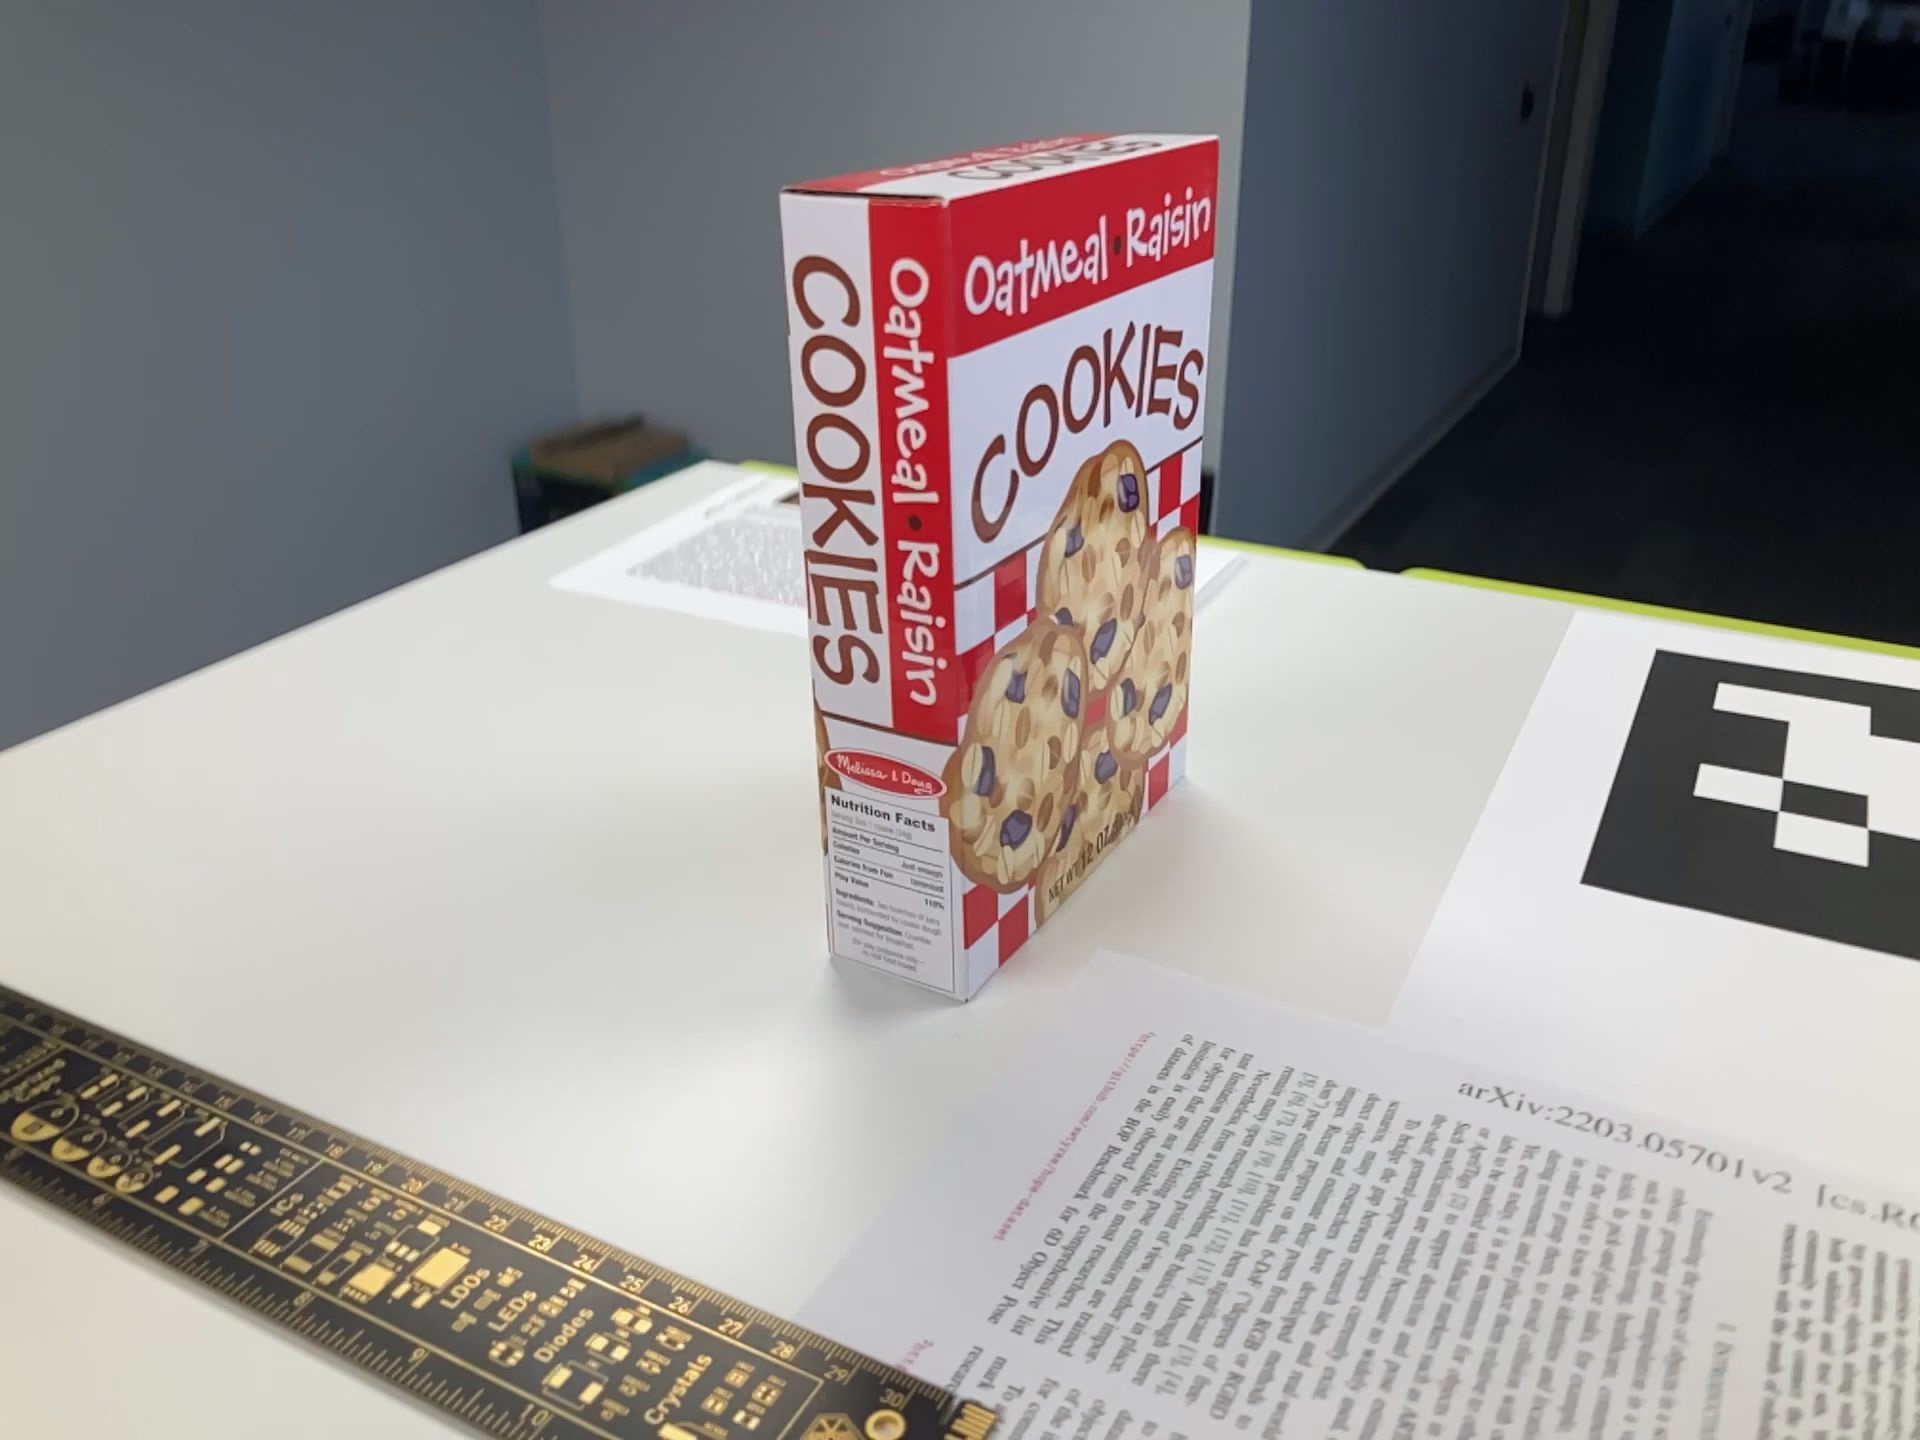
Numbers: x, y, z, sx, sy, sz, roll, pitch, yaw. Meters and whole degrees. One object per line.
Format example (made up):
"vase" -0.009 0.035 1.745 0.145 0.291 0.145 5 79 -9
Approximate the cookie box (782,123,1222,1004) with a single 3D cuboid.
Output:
"cookie box" 0.014 -0.041 0.359 0.040 0.167 0.123 13 28 28
